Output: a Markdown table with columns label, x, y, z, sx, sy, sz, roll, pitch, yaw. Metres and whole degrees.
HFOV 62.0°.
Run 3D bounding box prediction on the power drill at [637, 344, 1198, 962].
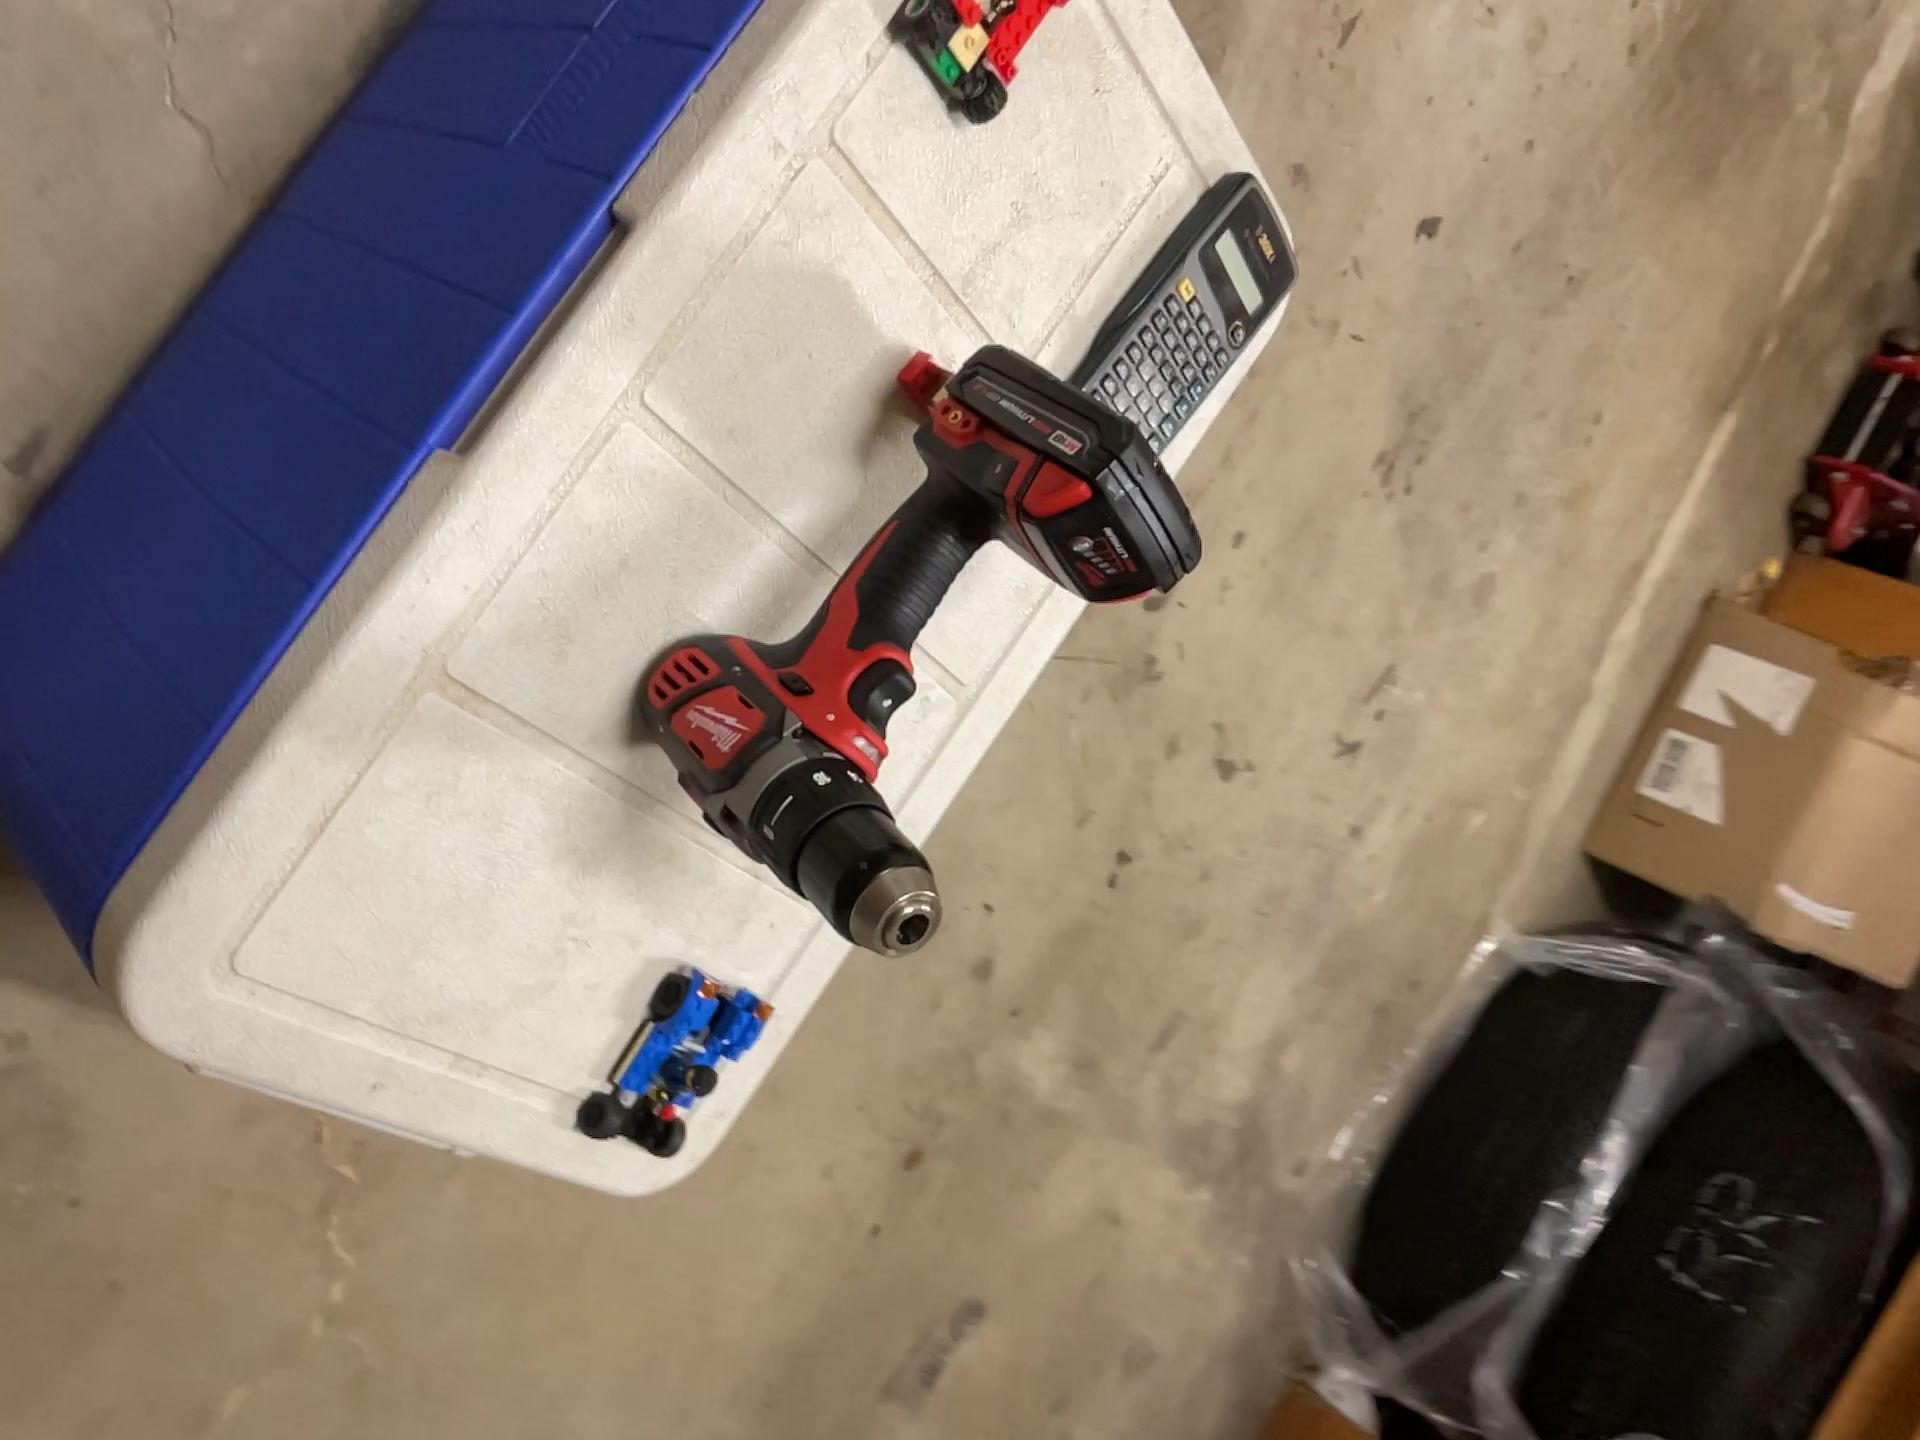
| label | x | y | z | sx | sy | sz | roll | pitch | yaw |
| --- | --- | --- | --- | --- | --- | --- | --- | --- | --- |
| power drill | -0.011 | -0.026 | 0.638 | 0.227 | 0.188 | 0.080 | -45 | 136 | -3 |
